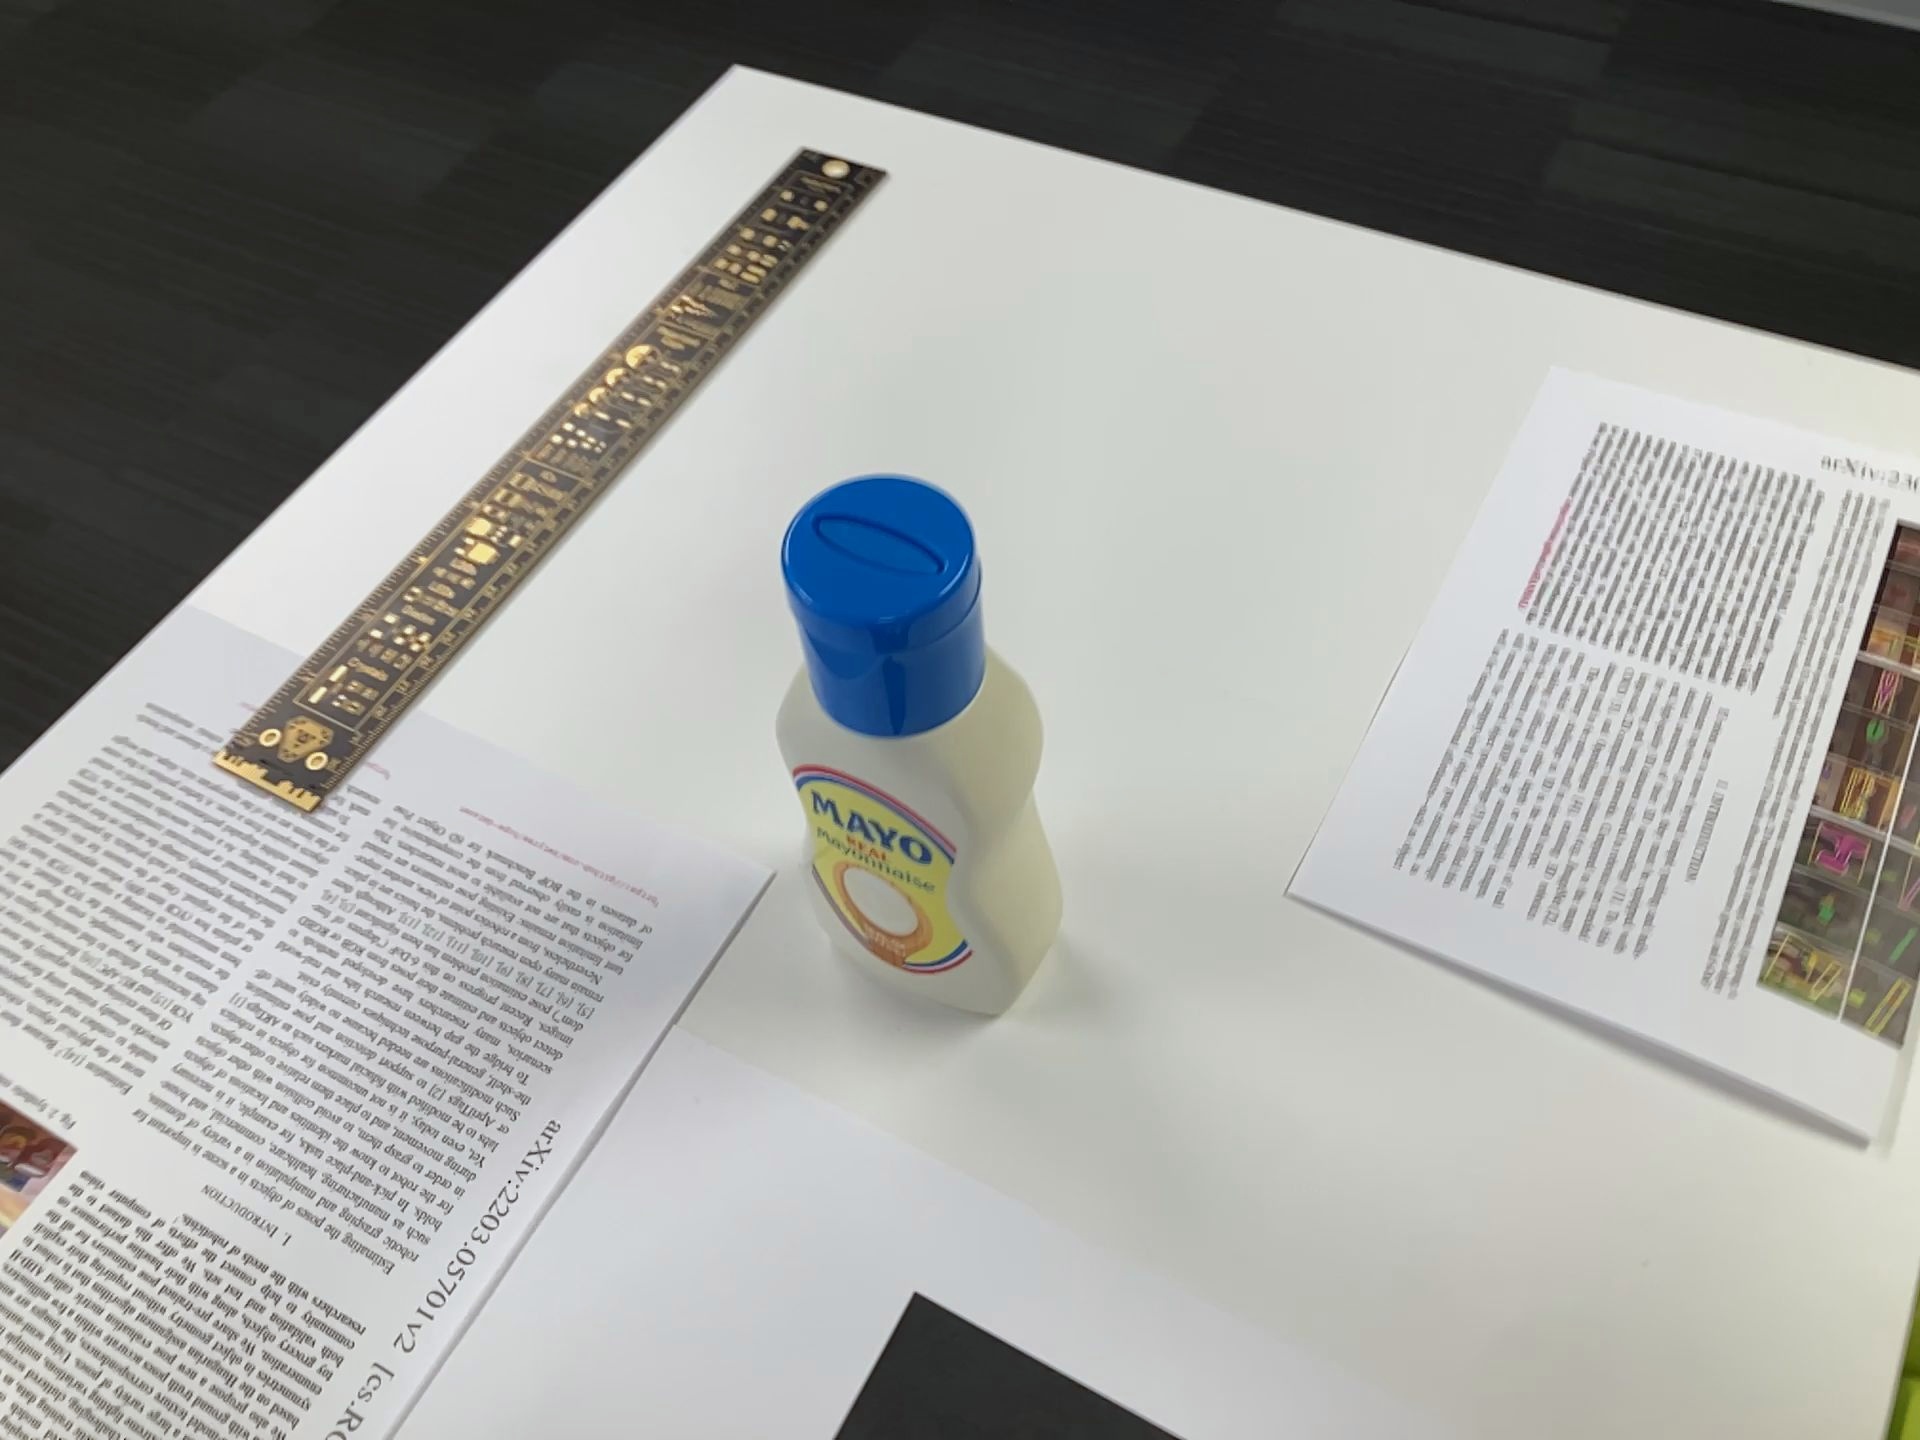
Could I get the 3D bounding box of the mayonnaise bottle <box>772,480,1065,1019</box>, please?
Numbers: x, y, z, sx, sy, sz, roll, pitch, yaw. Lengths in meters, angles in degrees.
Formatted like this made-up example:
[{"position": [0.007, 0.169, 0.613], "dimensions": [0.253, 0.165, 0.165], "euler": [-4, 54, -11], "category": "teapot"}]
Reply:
[{"position": [-0.011, 0.012, 0.345], "dimensions": [0.065, 0.148, 0.041], "euler": [22, 59, 20], "category": "mayonnaise bottle"}]
